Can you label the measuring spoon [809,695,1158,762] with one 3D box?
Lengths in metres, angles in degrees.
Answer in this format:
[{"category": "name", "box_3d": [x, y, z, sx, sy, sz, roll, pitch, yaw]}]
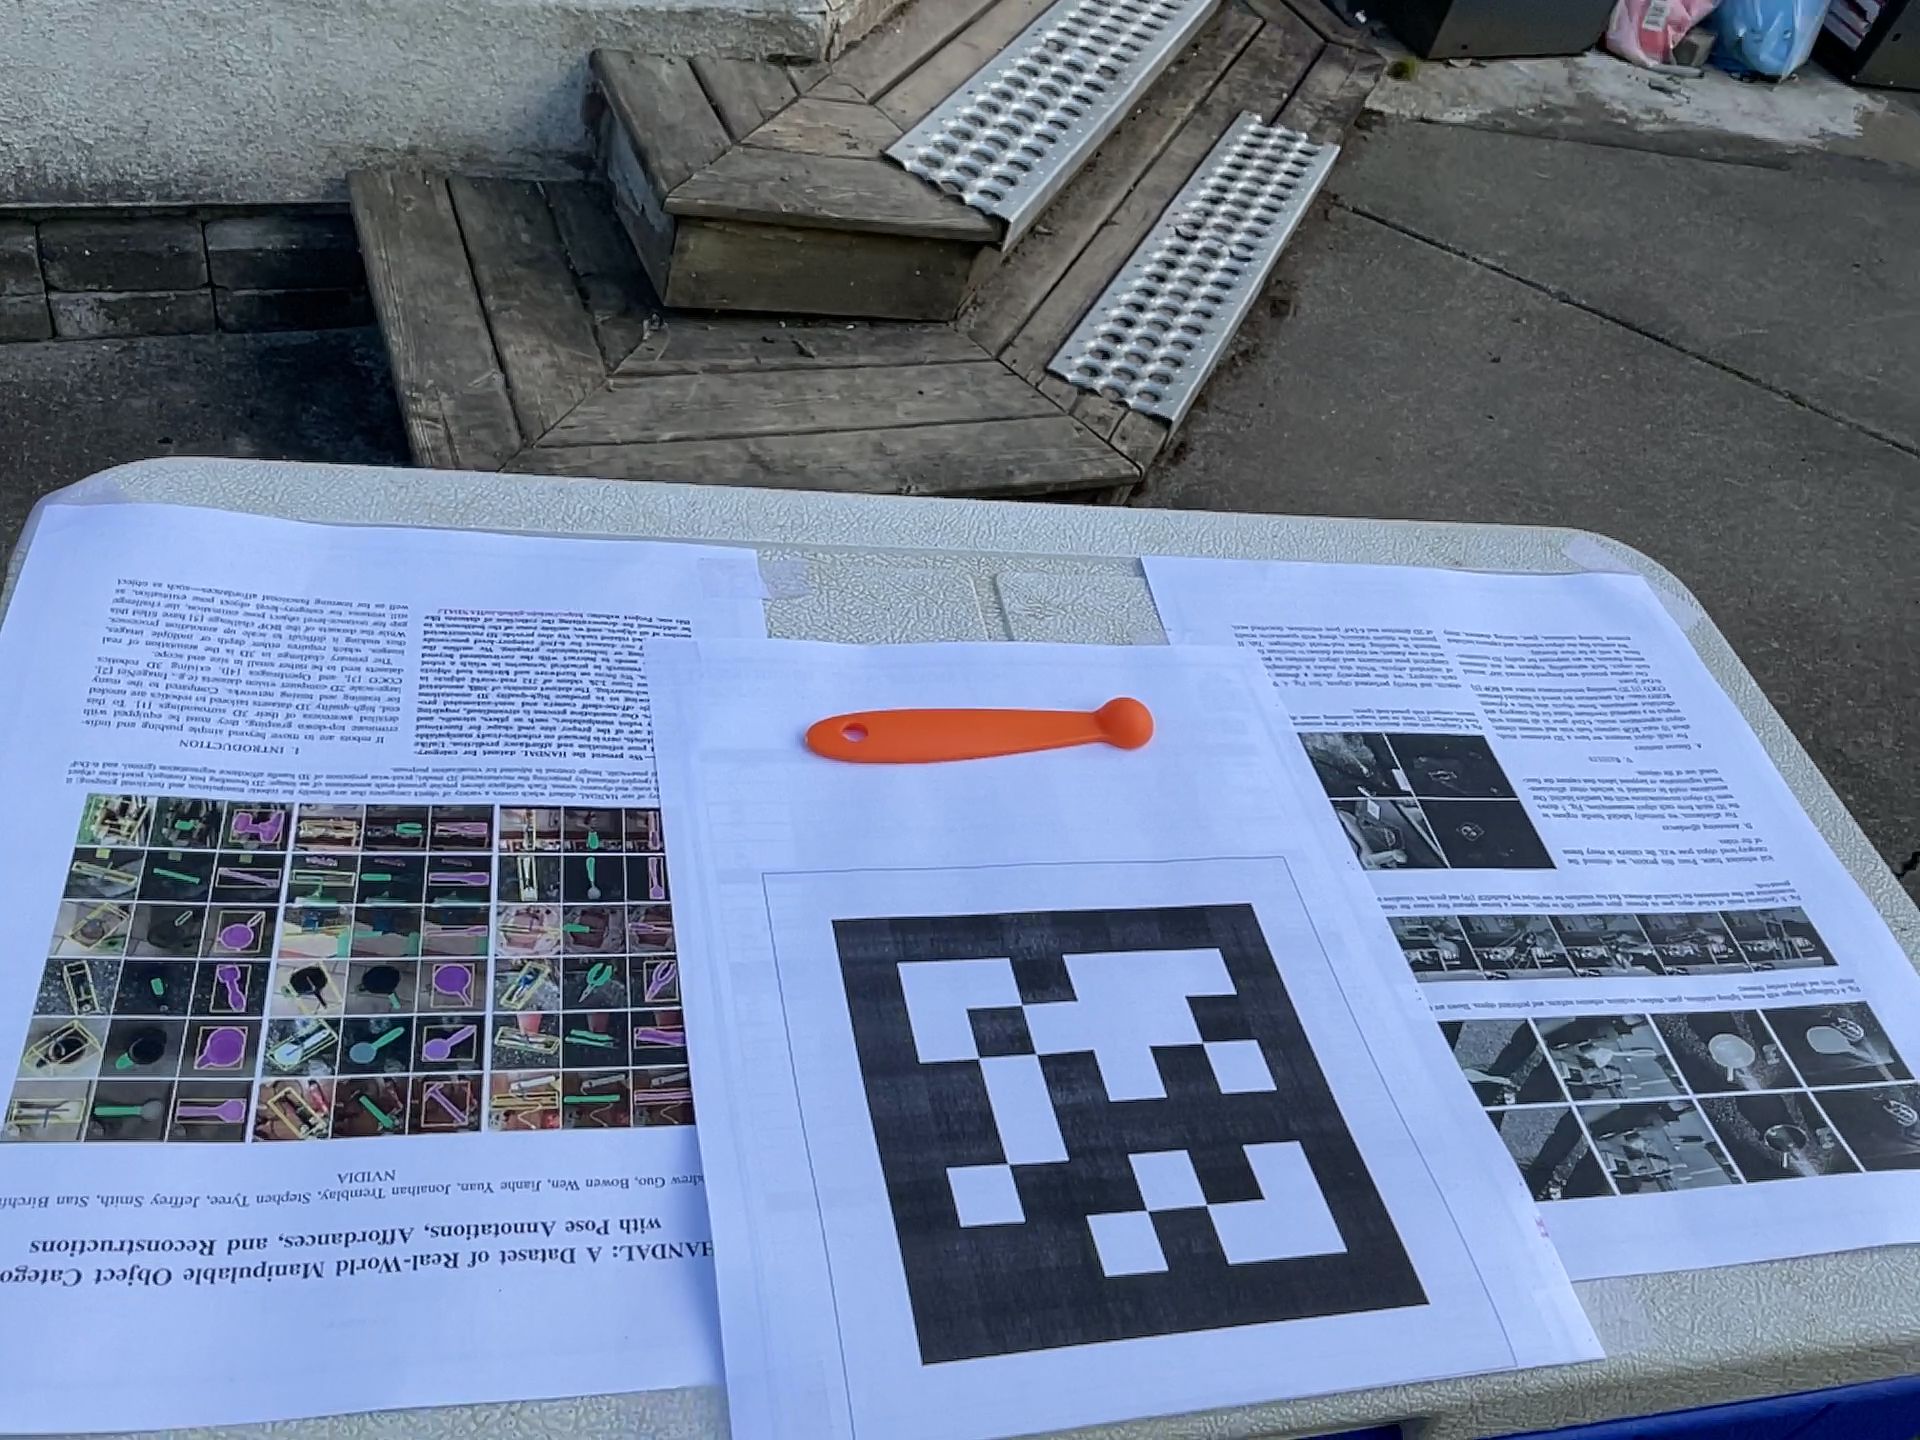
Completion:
[{"category": "measuring spoon", "box_3d": [0.010, 0.001, 0.508, 0.117, 0.011, 0.021, -3, 42, -18]}]
